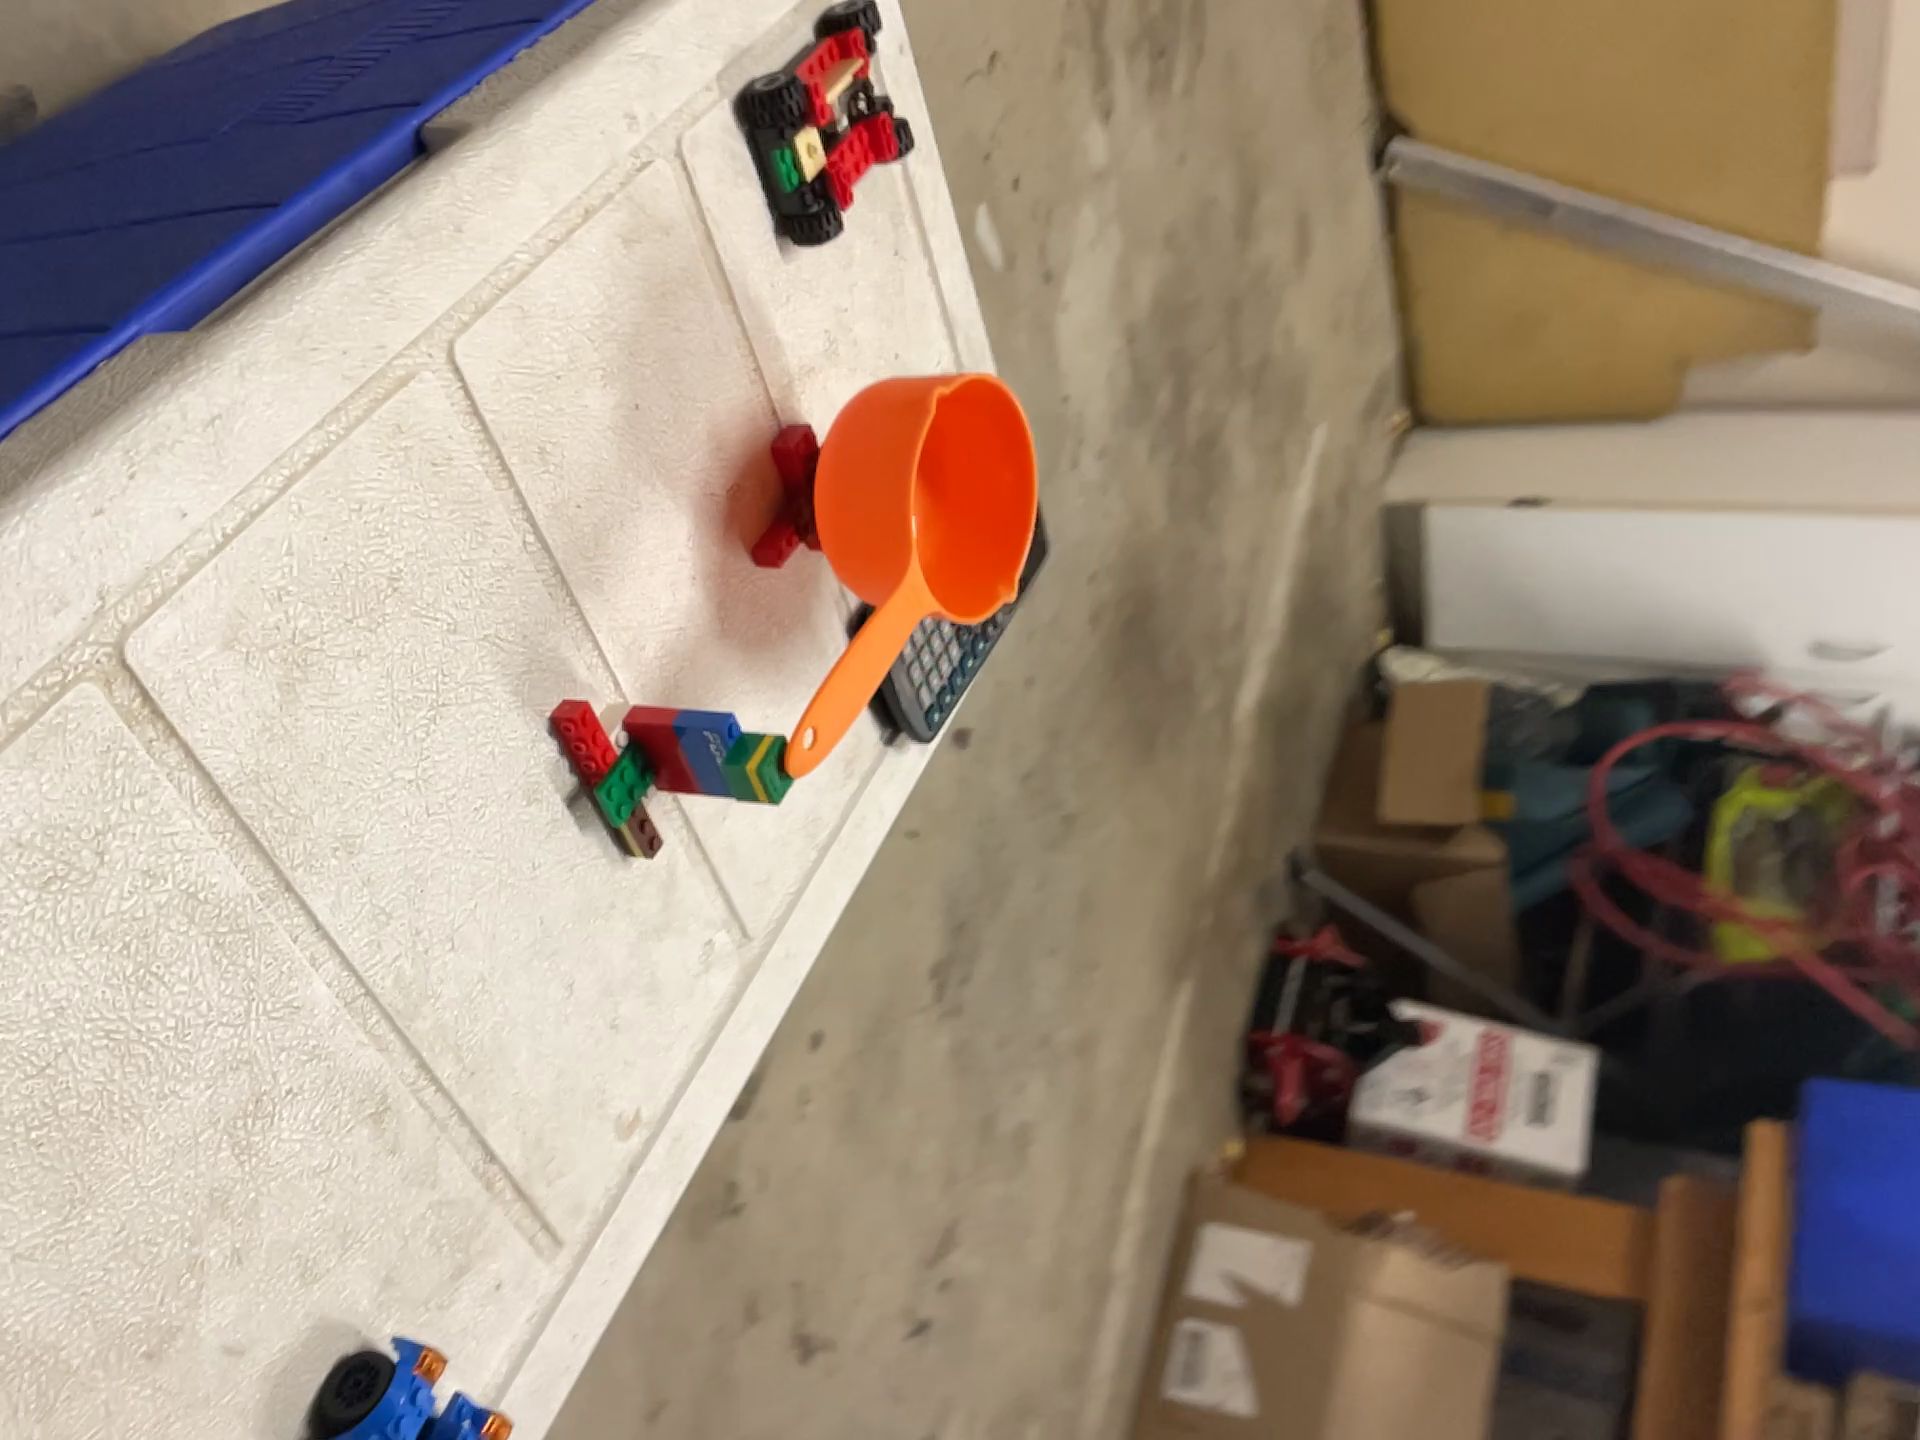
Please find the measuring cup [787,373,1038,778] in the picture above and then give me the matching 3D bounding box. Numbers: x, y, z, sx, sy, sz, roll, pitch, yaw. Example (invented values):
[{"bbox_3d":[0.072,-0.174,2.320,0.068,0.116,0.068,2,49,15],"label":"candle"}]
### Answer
[{"bbox_3d":[-0.032,-0.050,0.550,0.174,0.052,0.095,-59,143,-32],"label":"measuring cup"}]
